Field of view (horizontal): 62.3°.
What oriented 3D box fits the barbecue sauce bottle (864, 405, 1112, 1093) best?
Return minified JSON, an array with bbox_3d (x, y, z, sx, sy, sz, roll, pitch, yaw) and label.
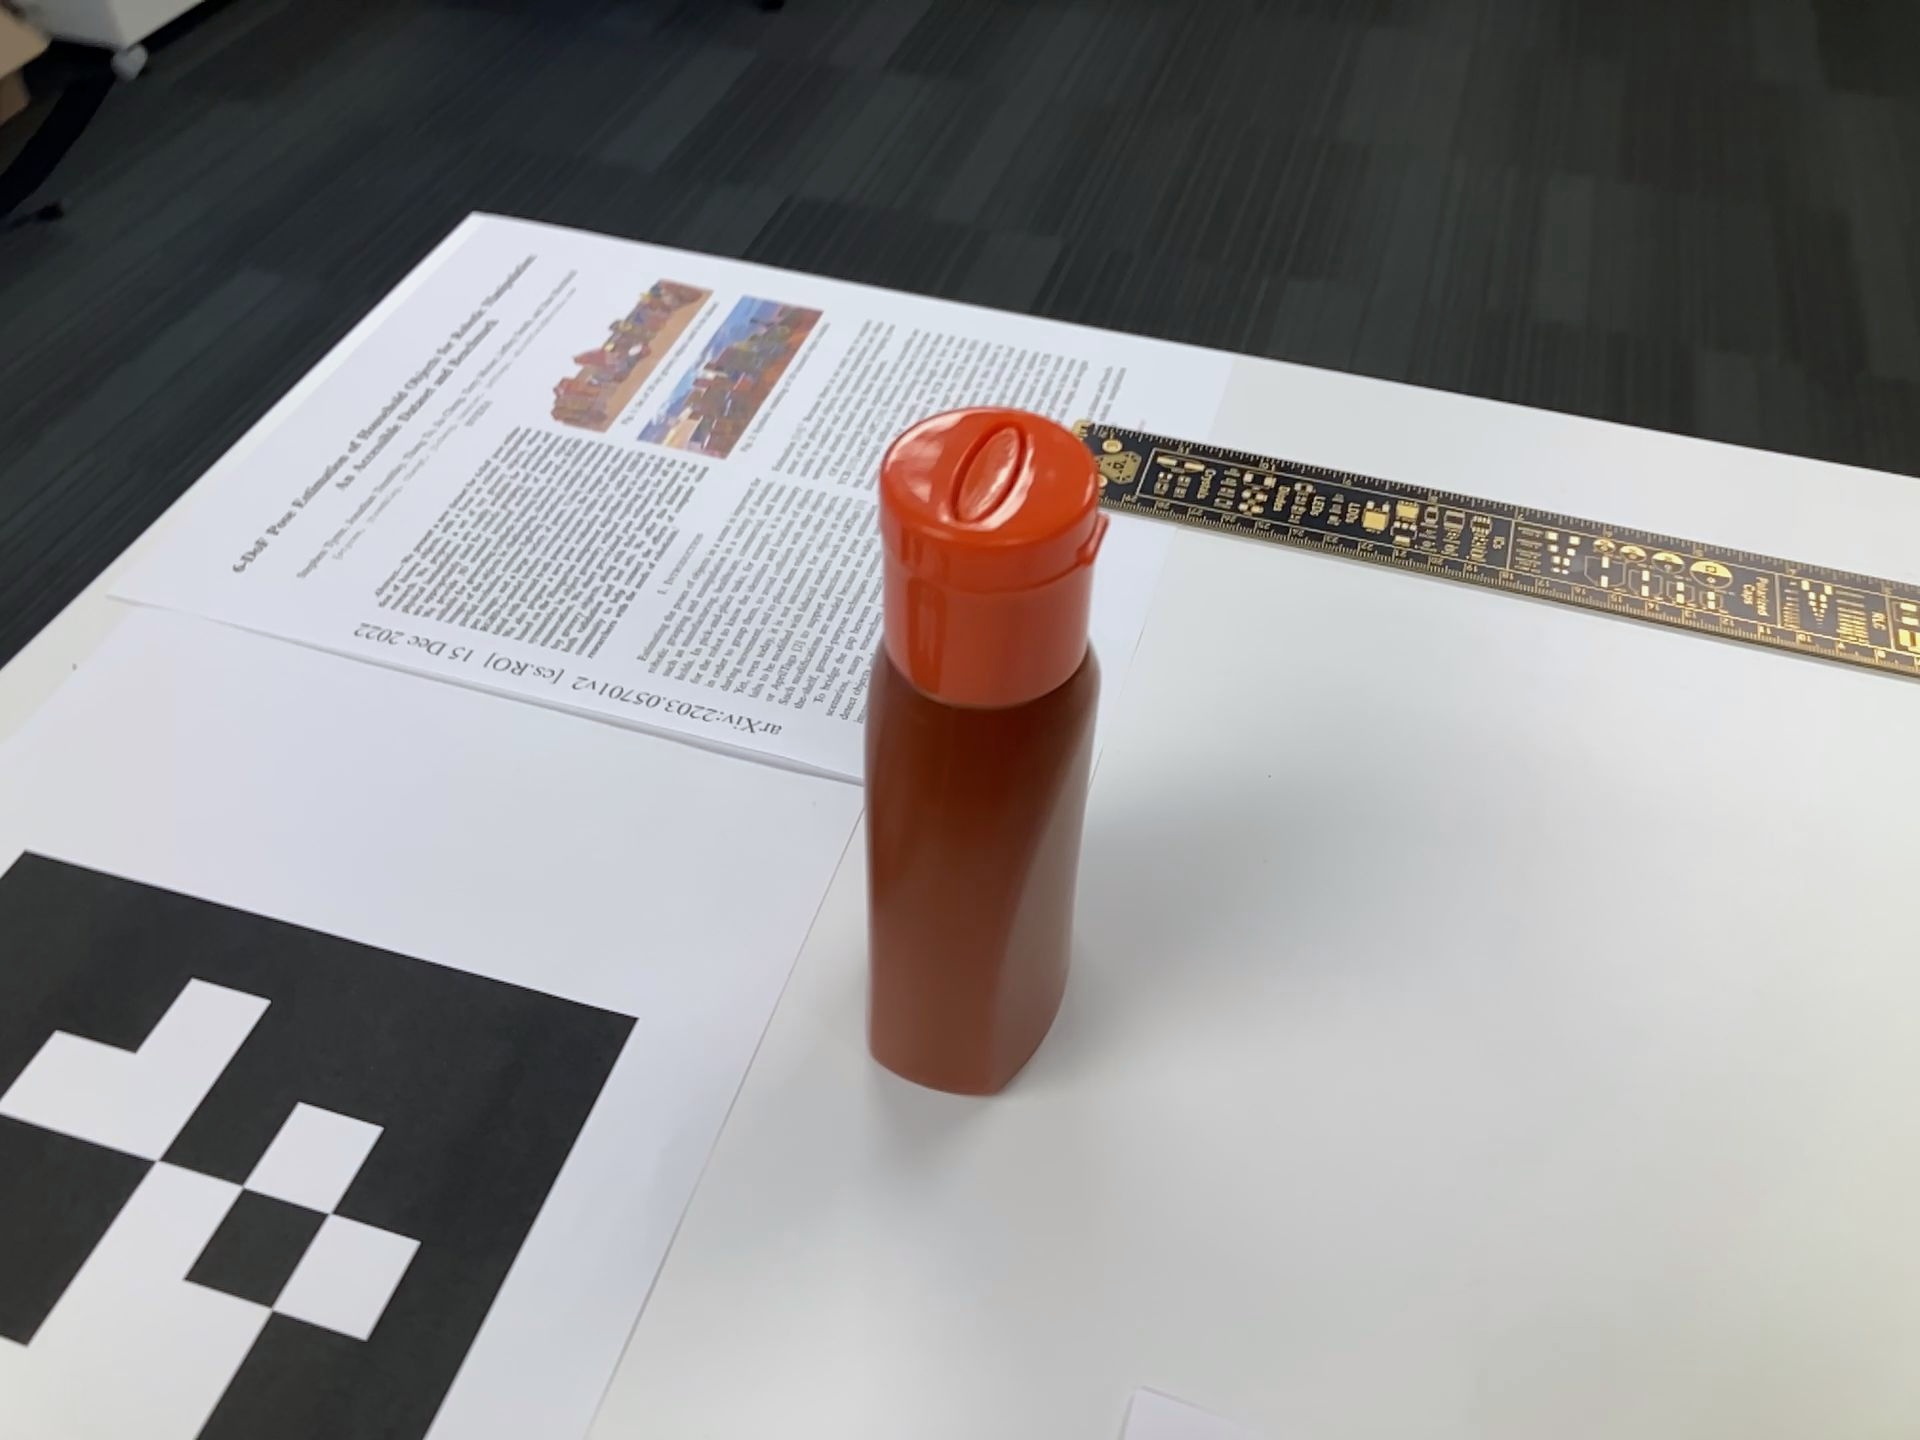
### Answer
[{"bbox_3d":[0.004,0.009,0.310,0.043,0.148,0.065,15,49,12],"label":"barbecue sauce bottle"}]
